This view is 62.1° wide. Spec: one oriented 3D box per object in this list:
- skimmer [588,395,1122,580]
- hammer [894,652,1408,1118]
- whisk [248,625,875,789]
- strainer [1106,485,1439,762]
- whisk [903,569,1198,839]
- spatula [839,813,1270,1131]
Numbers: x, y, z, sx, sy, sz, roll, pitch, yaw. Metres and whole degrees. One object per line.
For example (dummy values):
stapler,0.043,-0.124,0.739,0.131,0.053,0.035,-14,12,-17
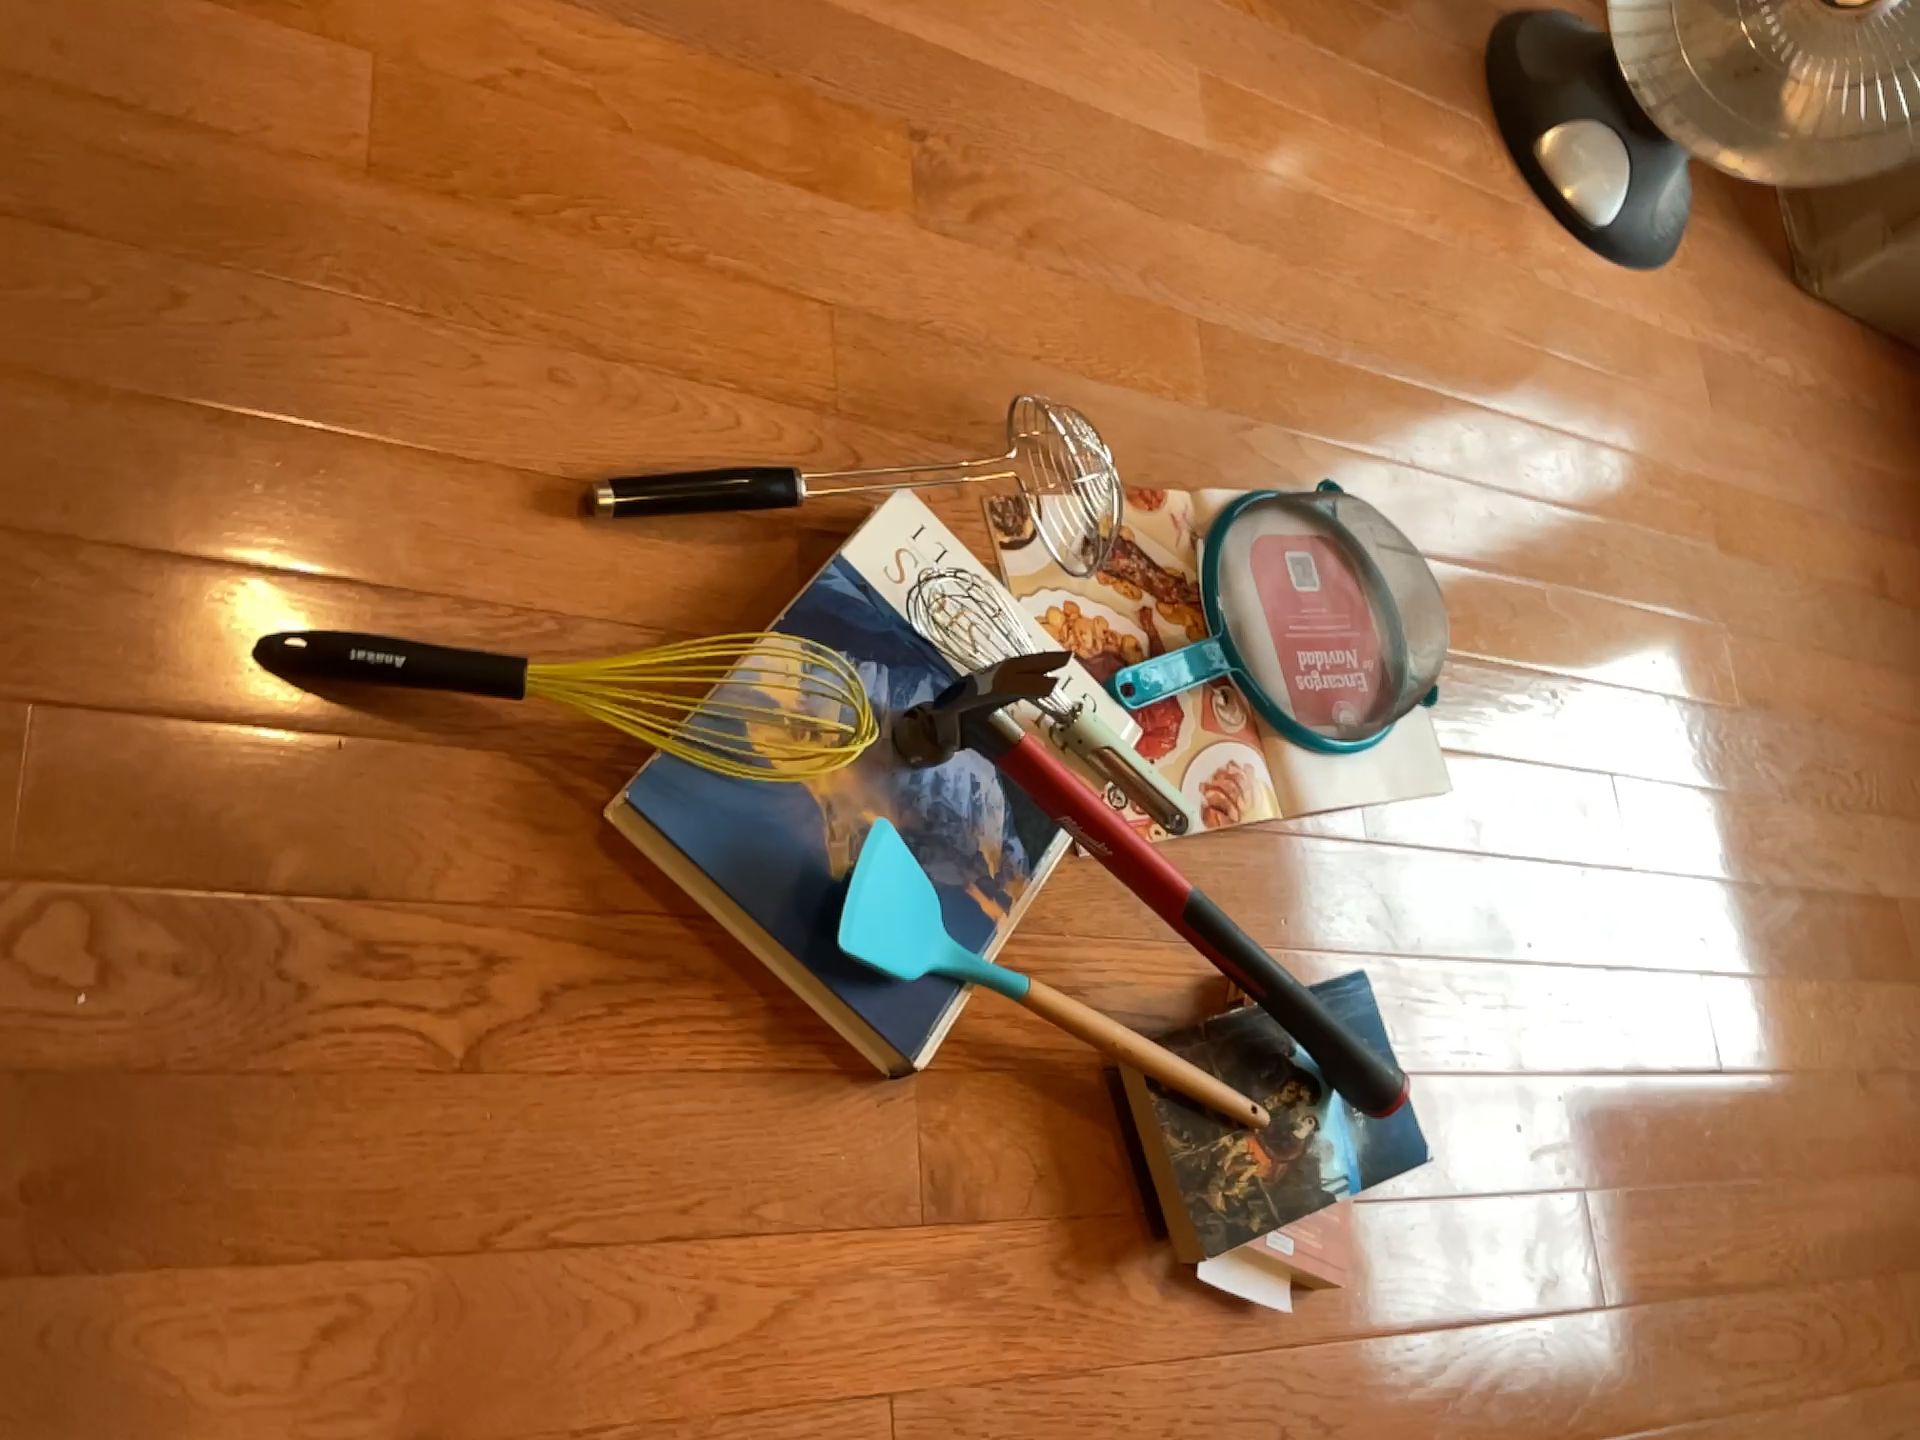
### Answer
skimmer,-0.053,-0.137,0.992,0.363,0.090,0.127,-8,79,-25
hammer,0.139,0.106,0.921,0.386,0.143,0.038,42,58,-17
whisk,-0.195,-0.017,0.811,0.311,0.067,0.080,8,82,-16
strainer,0.235,-0.068,1.106,0.341,0.095,0.211,-19,84,-44
whisk,0.059,-0.006,0.965,0.246,0.057,0.059,41,24,-20
spatula,0.062,0.162,0.896,0.317,0.044,0.082,31,56,-21
